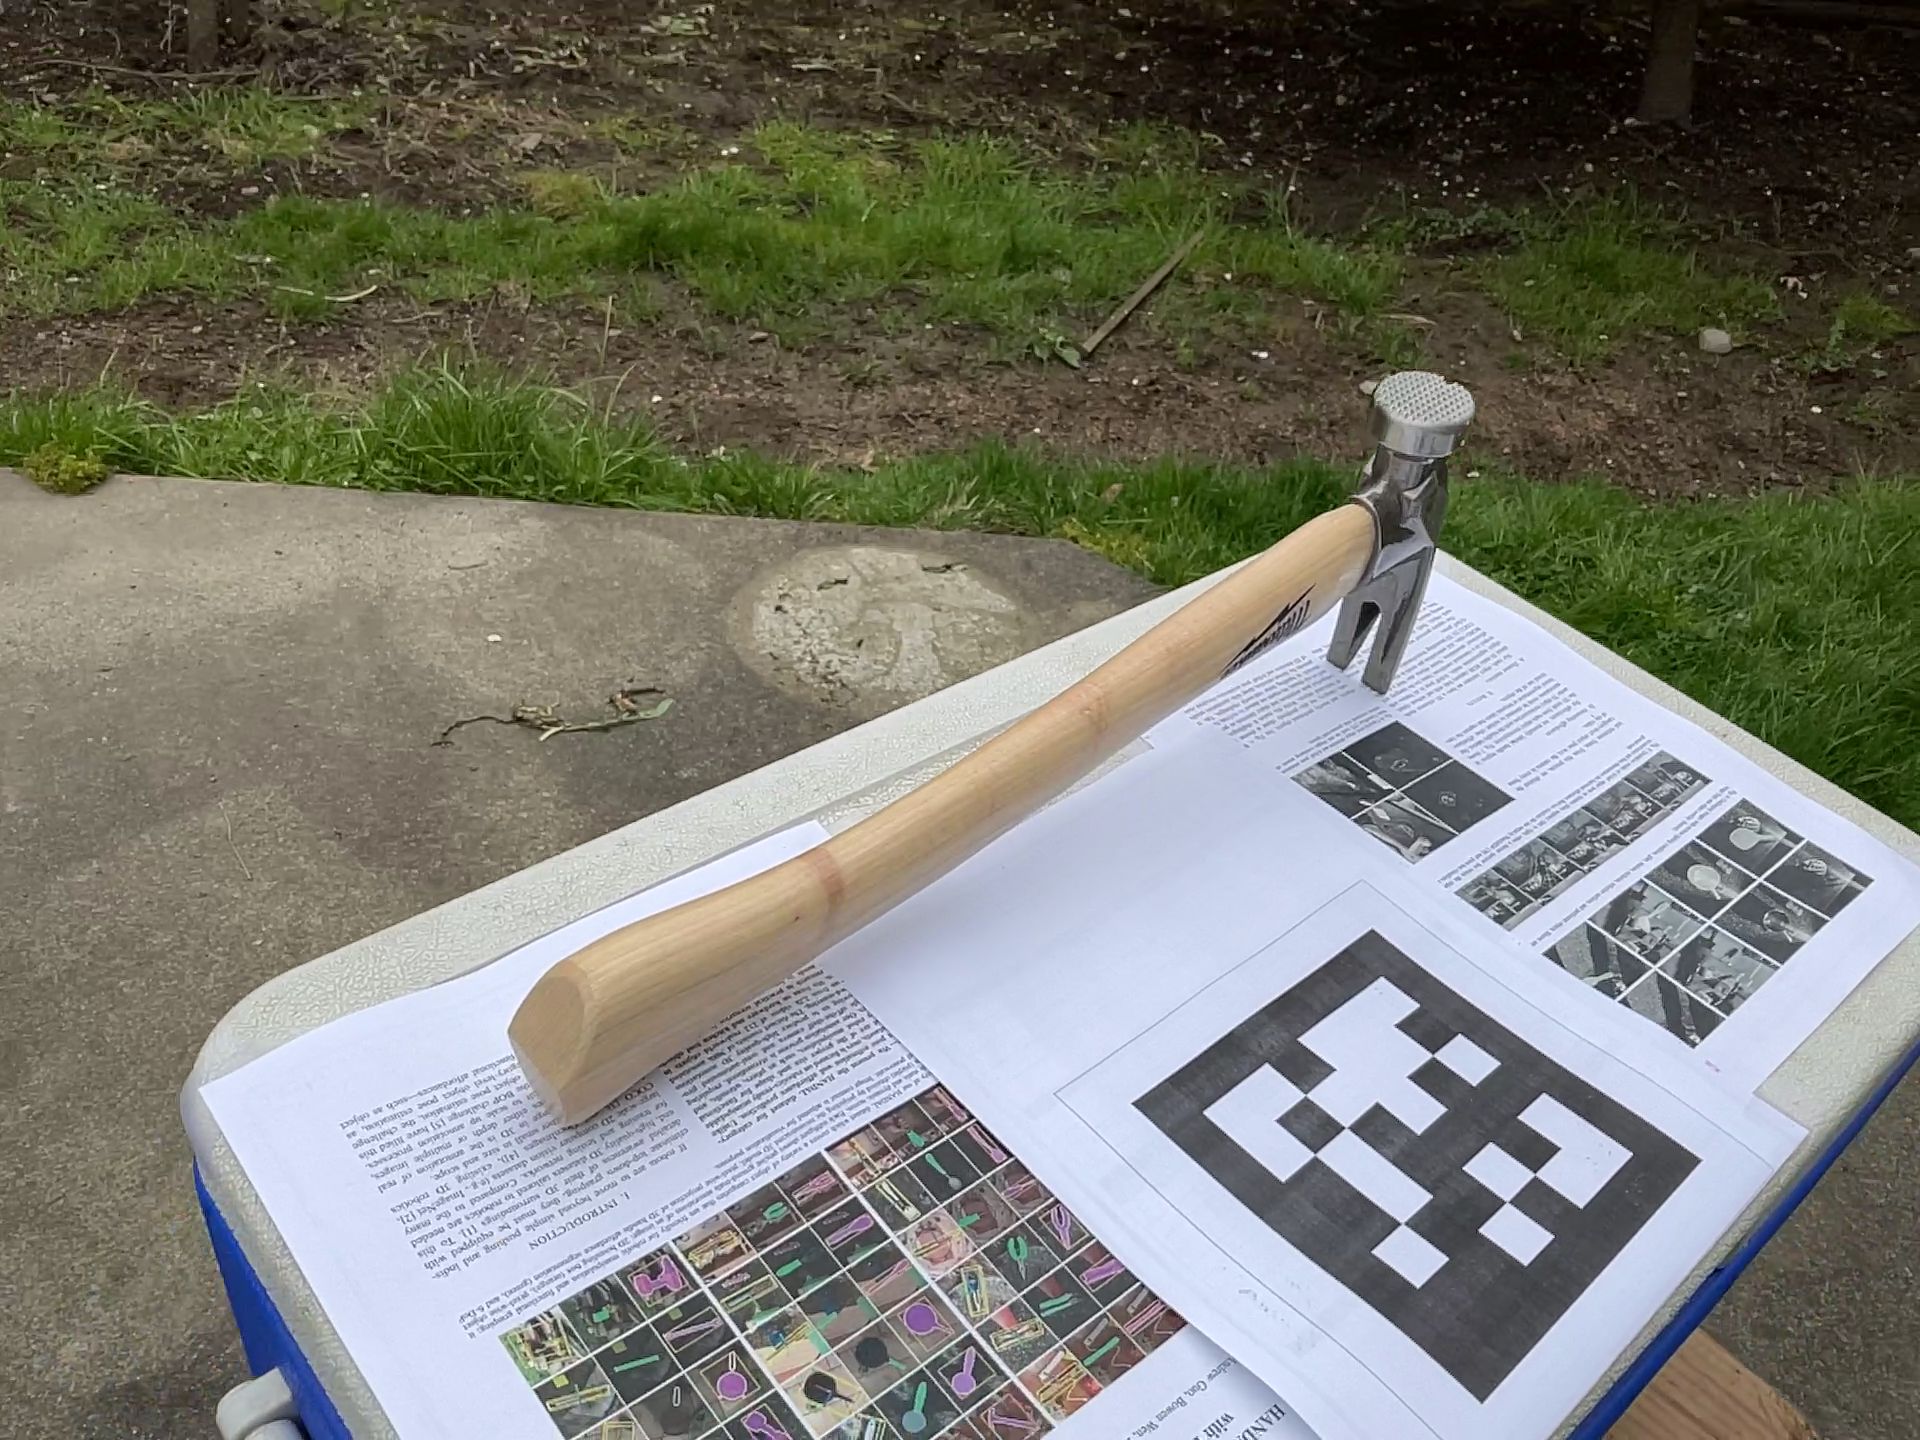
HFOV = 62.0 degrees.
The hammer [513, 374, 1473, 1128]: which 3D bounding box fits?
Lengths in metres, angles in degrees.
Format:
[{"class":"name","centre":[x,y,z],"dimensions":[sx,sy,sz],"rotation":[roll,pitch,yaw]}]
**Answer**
[{"class":"hammer","centre":[0.034,0.017,0.563],"dimensions":[0.410,0.146,0.038],"rotation":[-32,53,-28]}]
